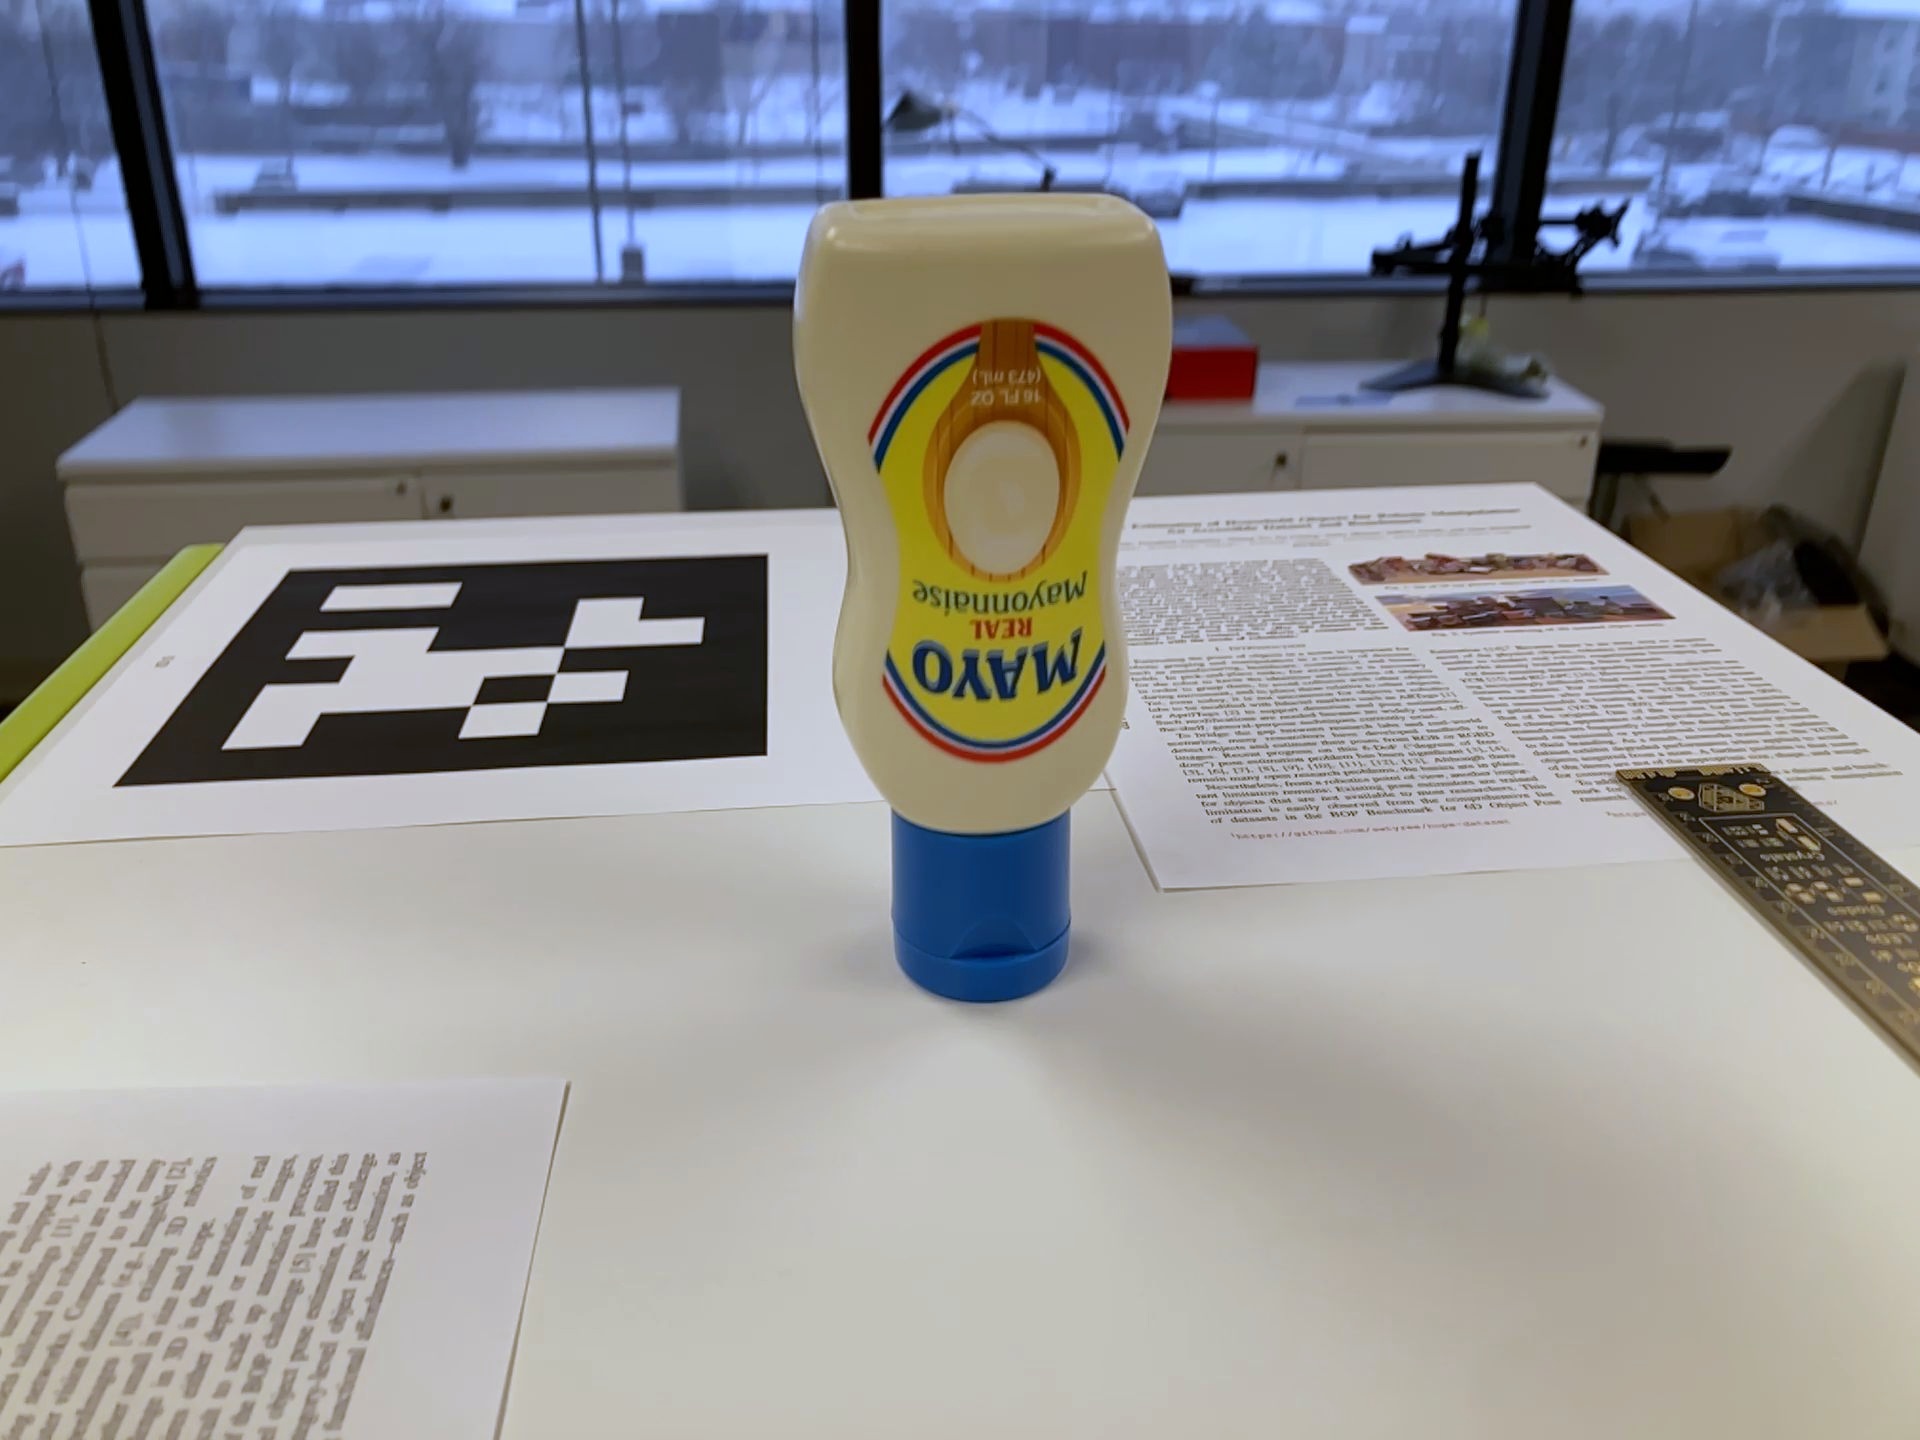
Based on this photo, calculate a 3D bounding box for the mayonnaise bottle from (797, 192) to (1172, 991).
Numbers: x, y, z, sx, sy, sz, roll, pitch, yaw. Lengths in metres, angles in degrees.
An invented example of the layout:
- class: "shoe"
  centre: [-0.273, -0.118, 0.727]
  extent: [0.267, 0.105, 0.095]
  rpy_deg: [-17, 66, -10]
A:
- class: "mayonnaise bottle"
  centre: [0.004, -0.020, 0.299]
  extent: [0.065, 0.148, 0.041]
  rpy_deg: [-4, 24, -7]
